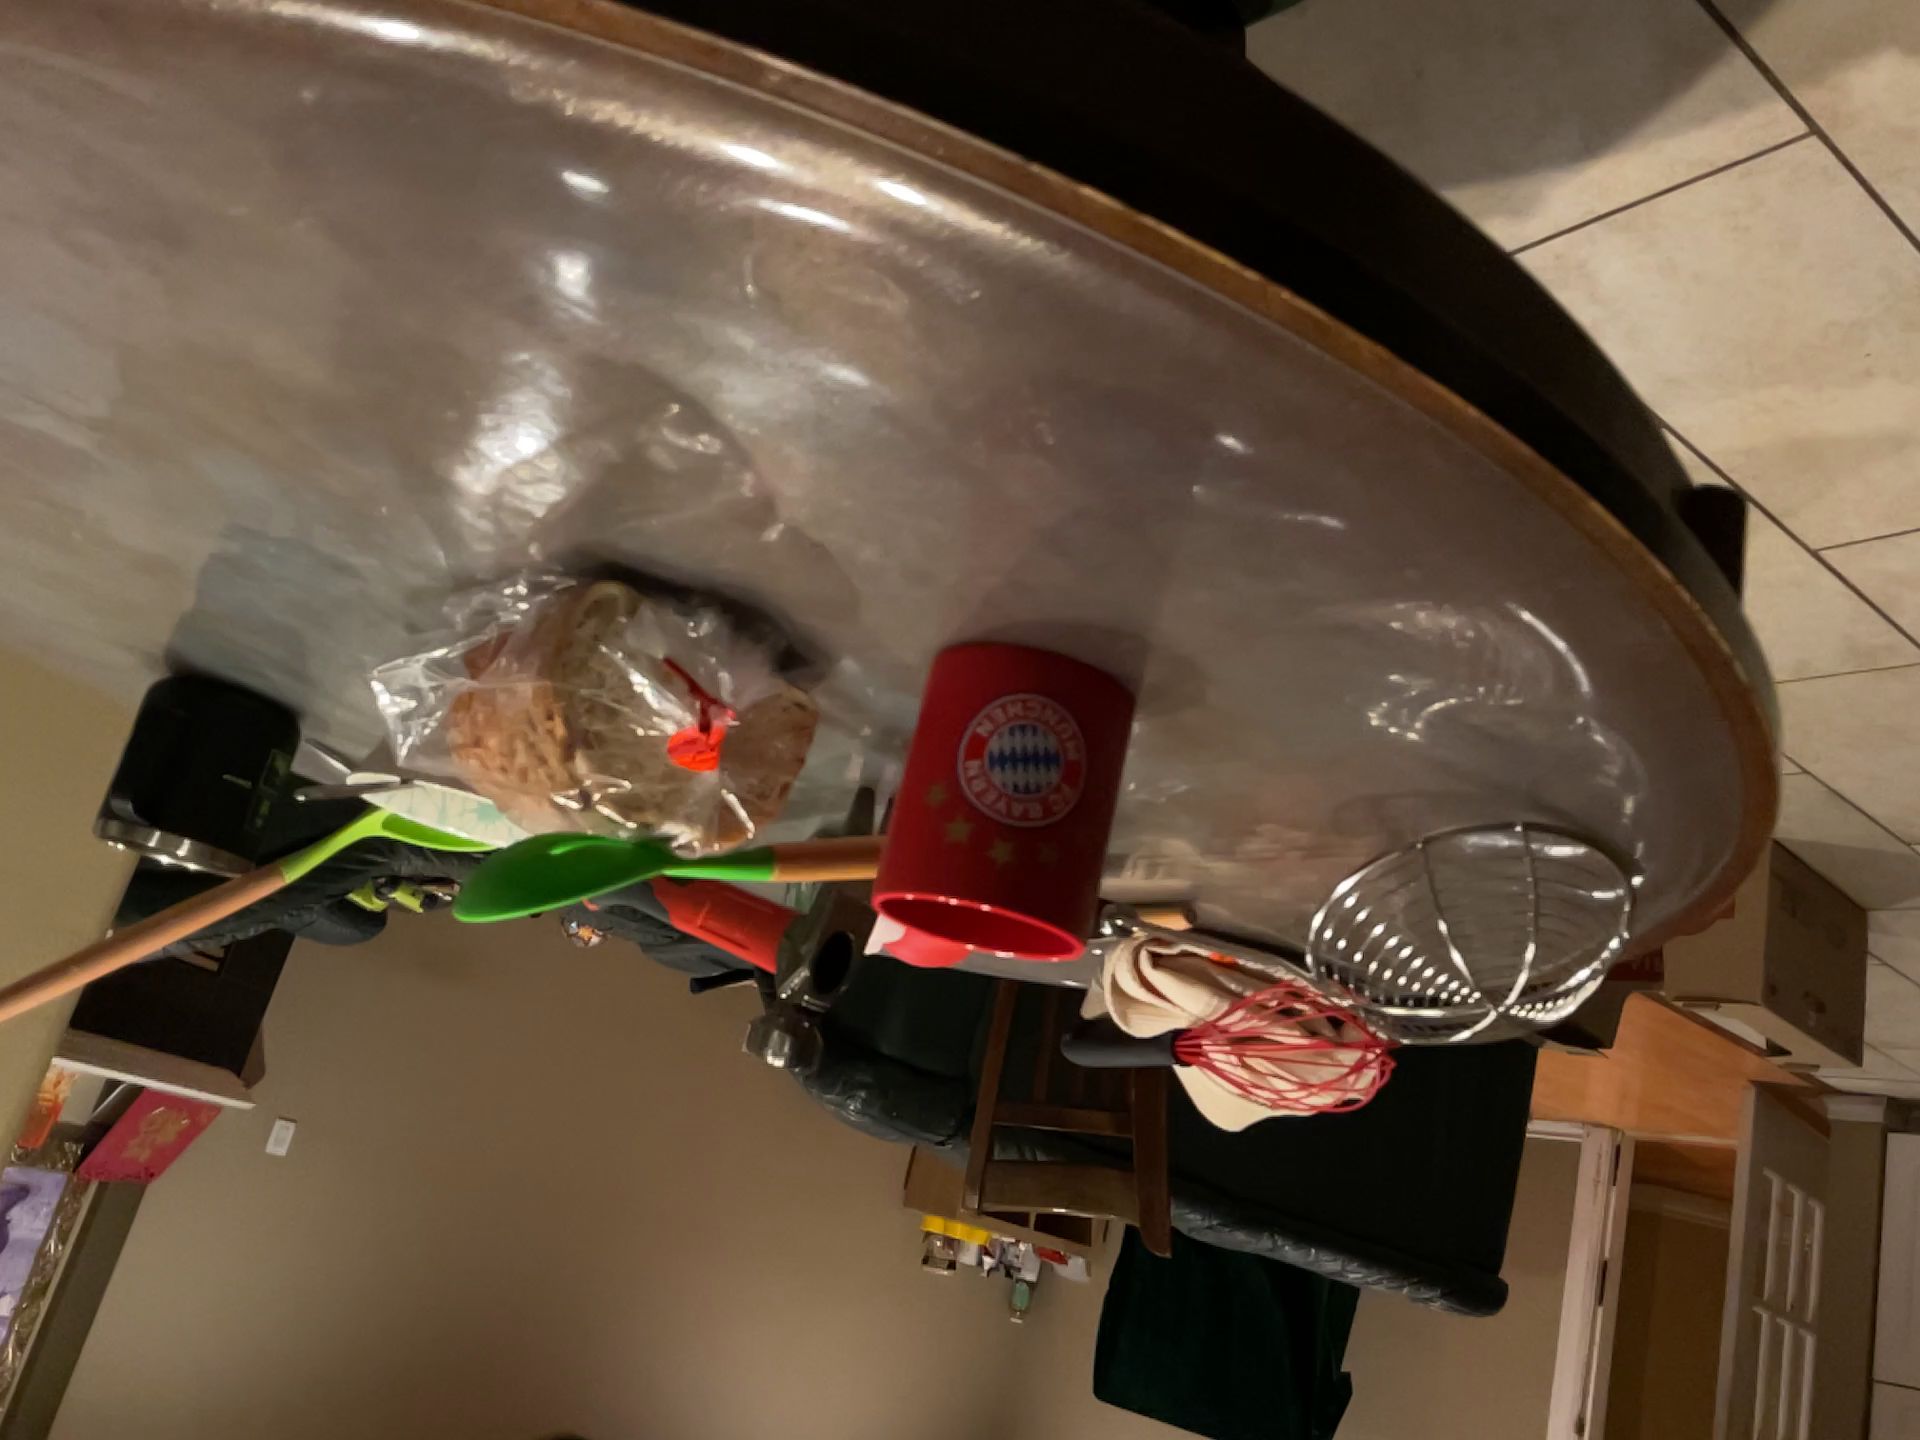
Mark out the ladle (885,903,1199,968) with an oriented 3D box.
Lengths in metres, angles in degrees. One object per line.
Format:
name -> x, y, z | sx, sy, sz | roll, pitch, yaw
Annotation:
ladle -> 0.039, 0.132, 0.985 | 0.069, 0.031, 0.315 | 24, 157, -28

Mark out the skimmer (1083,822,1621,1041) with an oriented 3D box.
skimmer -> 0.128, 0.079, 0.754 | 0.127, 0.090, 0.364 | 37, 163, -32

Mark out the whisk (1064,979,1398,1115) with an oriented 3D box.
whisk -> 0.143, 0.187, 0.909 | 0.073, 0.073, 0.296 | 21, 161, -23

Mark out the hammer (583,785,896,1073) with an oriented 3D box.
hammer -> -0.150, 0.094, 0.940 | 0.038, 0.143, 0.387 | 26, 170, -28

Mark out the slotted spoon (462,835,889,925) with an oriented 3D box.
slotted spoon -> -0.063, 0.061, 0.687 | 0.313, 0.031, 0.070 | 0, 180, -42

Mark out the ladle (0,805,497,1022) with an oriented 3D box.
ladle -> -0.415, 0.112, 0.922 | 0.062, 0.320, 0.078 | 55, 151, 12
